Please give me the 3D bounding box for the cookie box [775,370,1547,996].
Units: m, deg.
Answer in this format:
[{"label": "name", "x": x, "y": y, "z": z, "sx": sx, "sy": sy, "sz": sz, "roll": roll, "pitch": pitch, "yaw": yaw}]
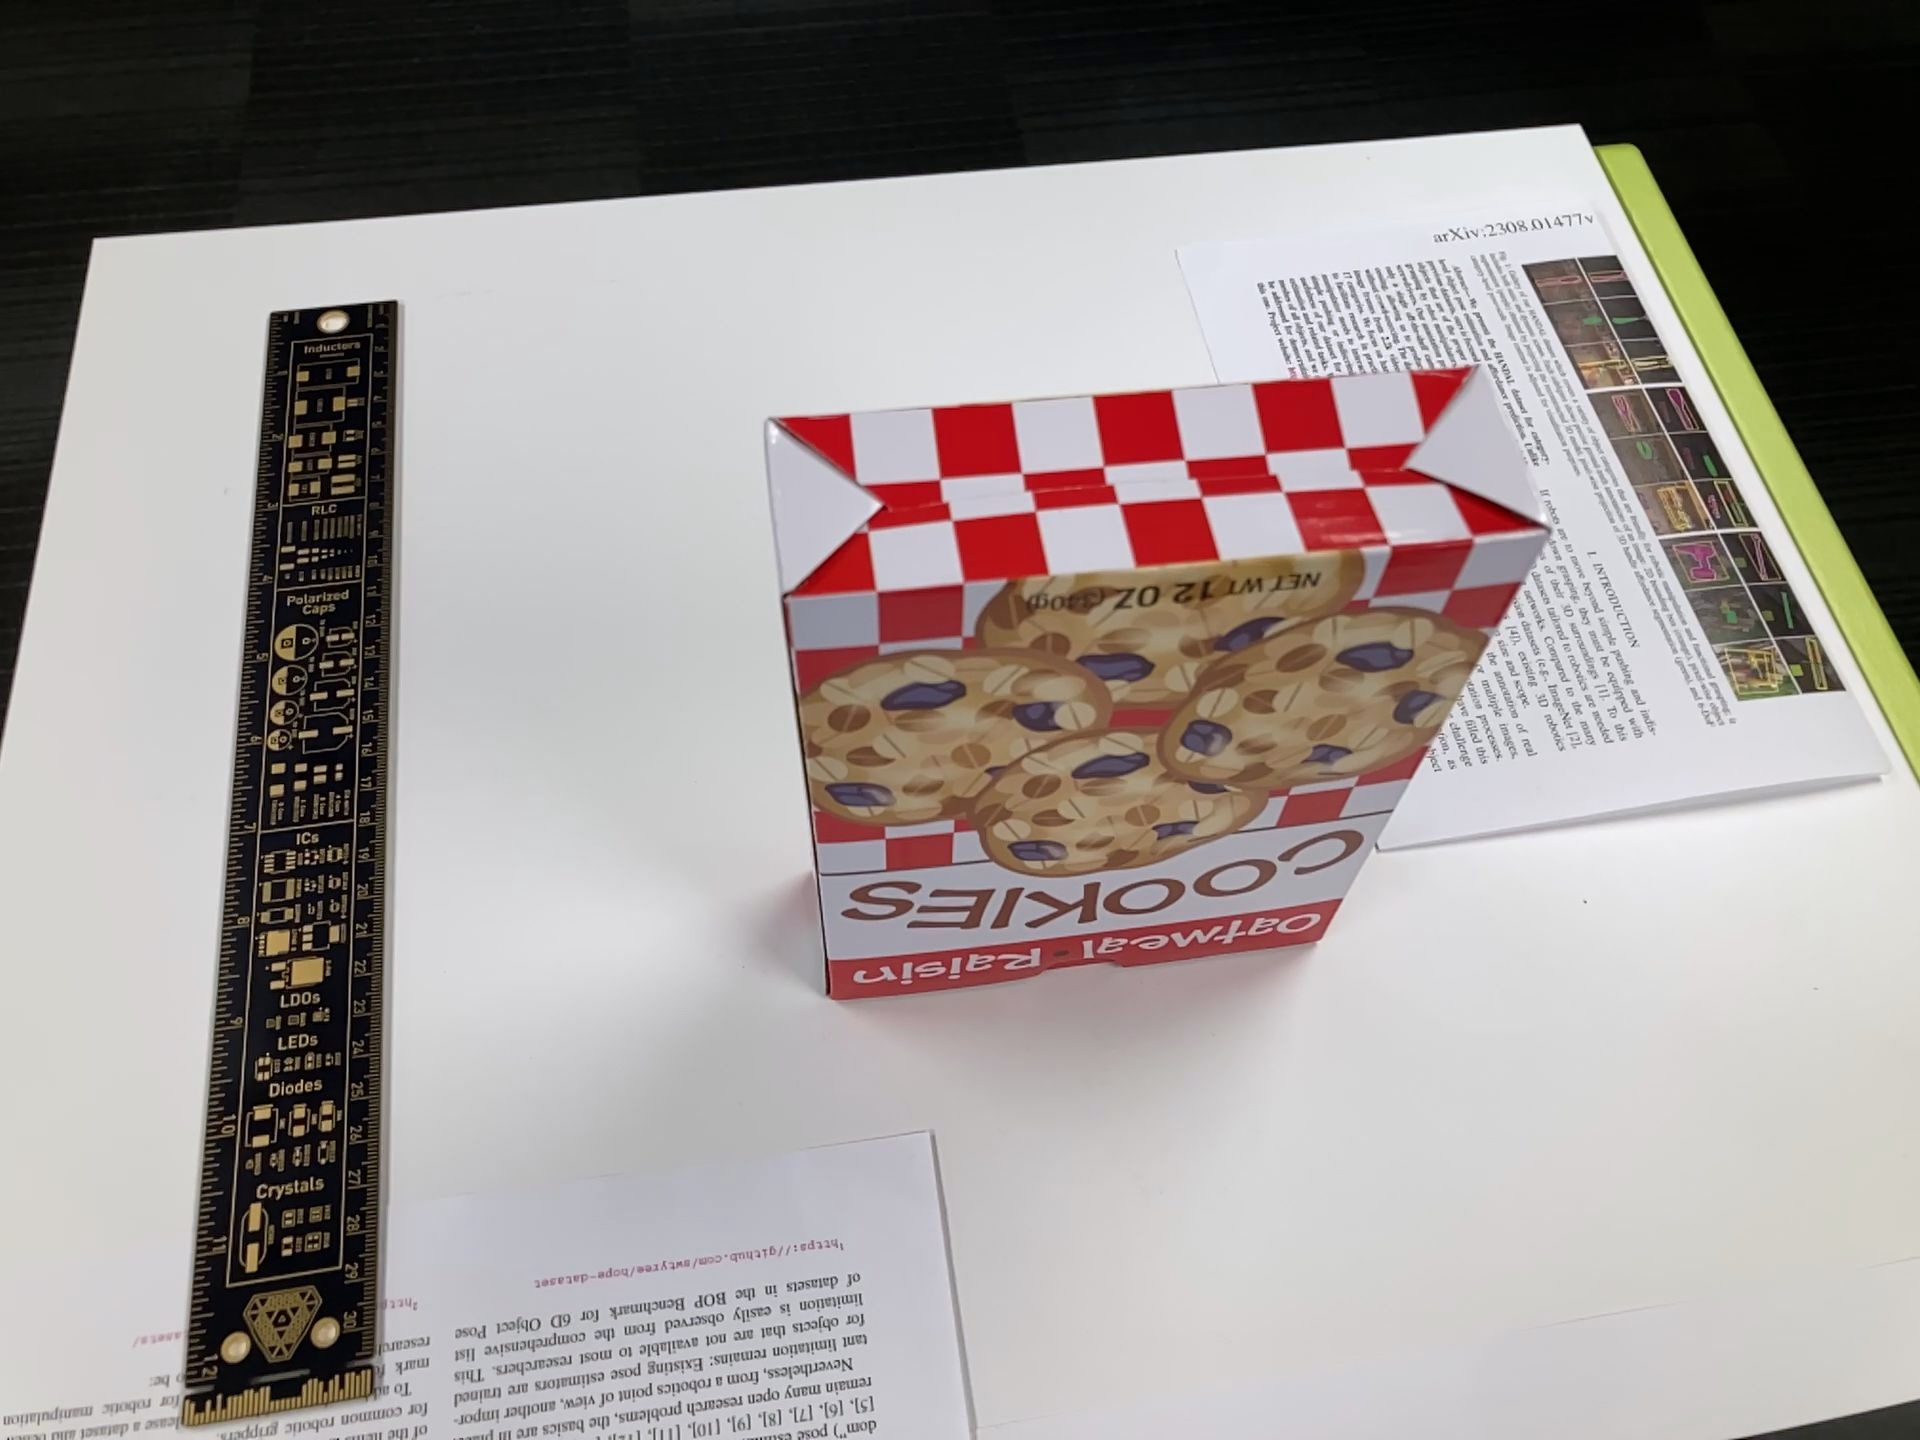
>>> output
[{"label": "cookie box", "x": 0.029, "y": 0.004, "z": 0.327, "sx": 0.123, "sy": 0.167, "sz": 0.040, "roll": -5, "pitch": 59, "yaw": -6}]
